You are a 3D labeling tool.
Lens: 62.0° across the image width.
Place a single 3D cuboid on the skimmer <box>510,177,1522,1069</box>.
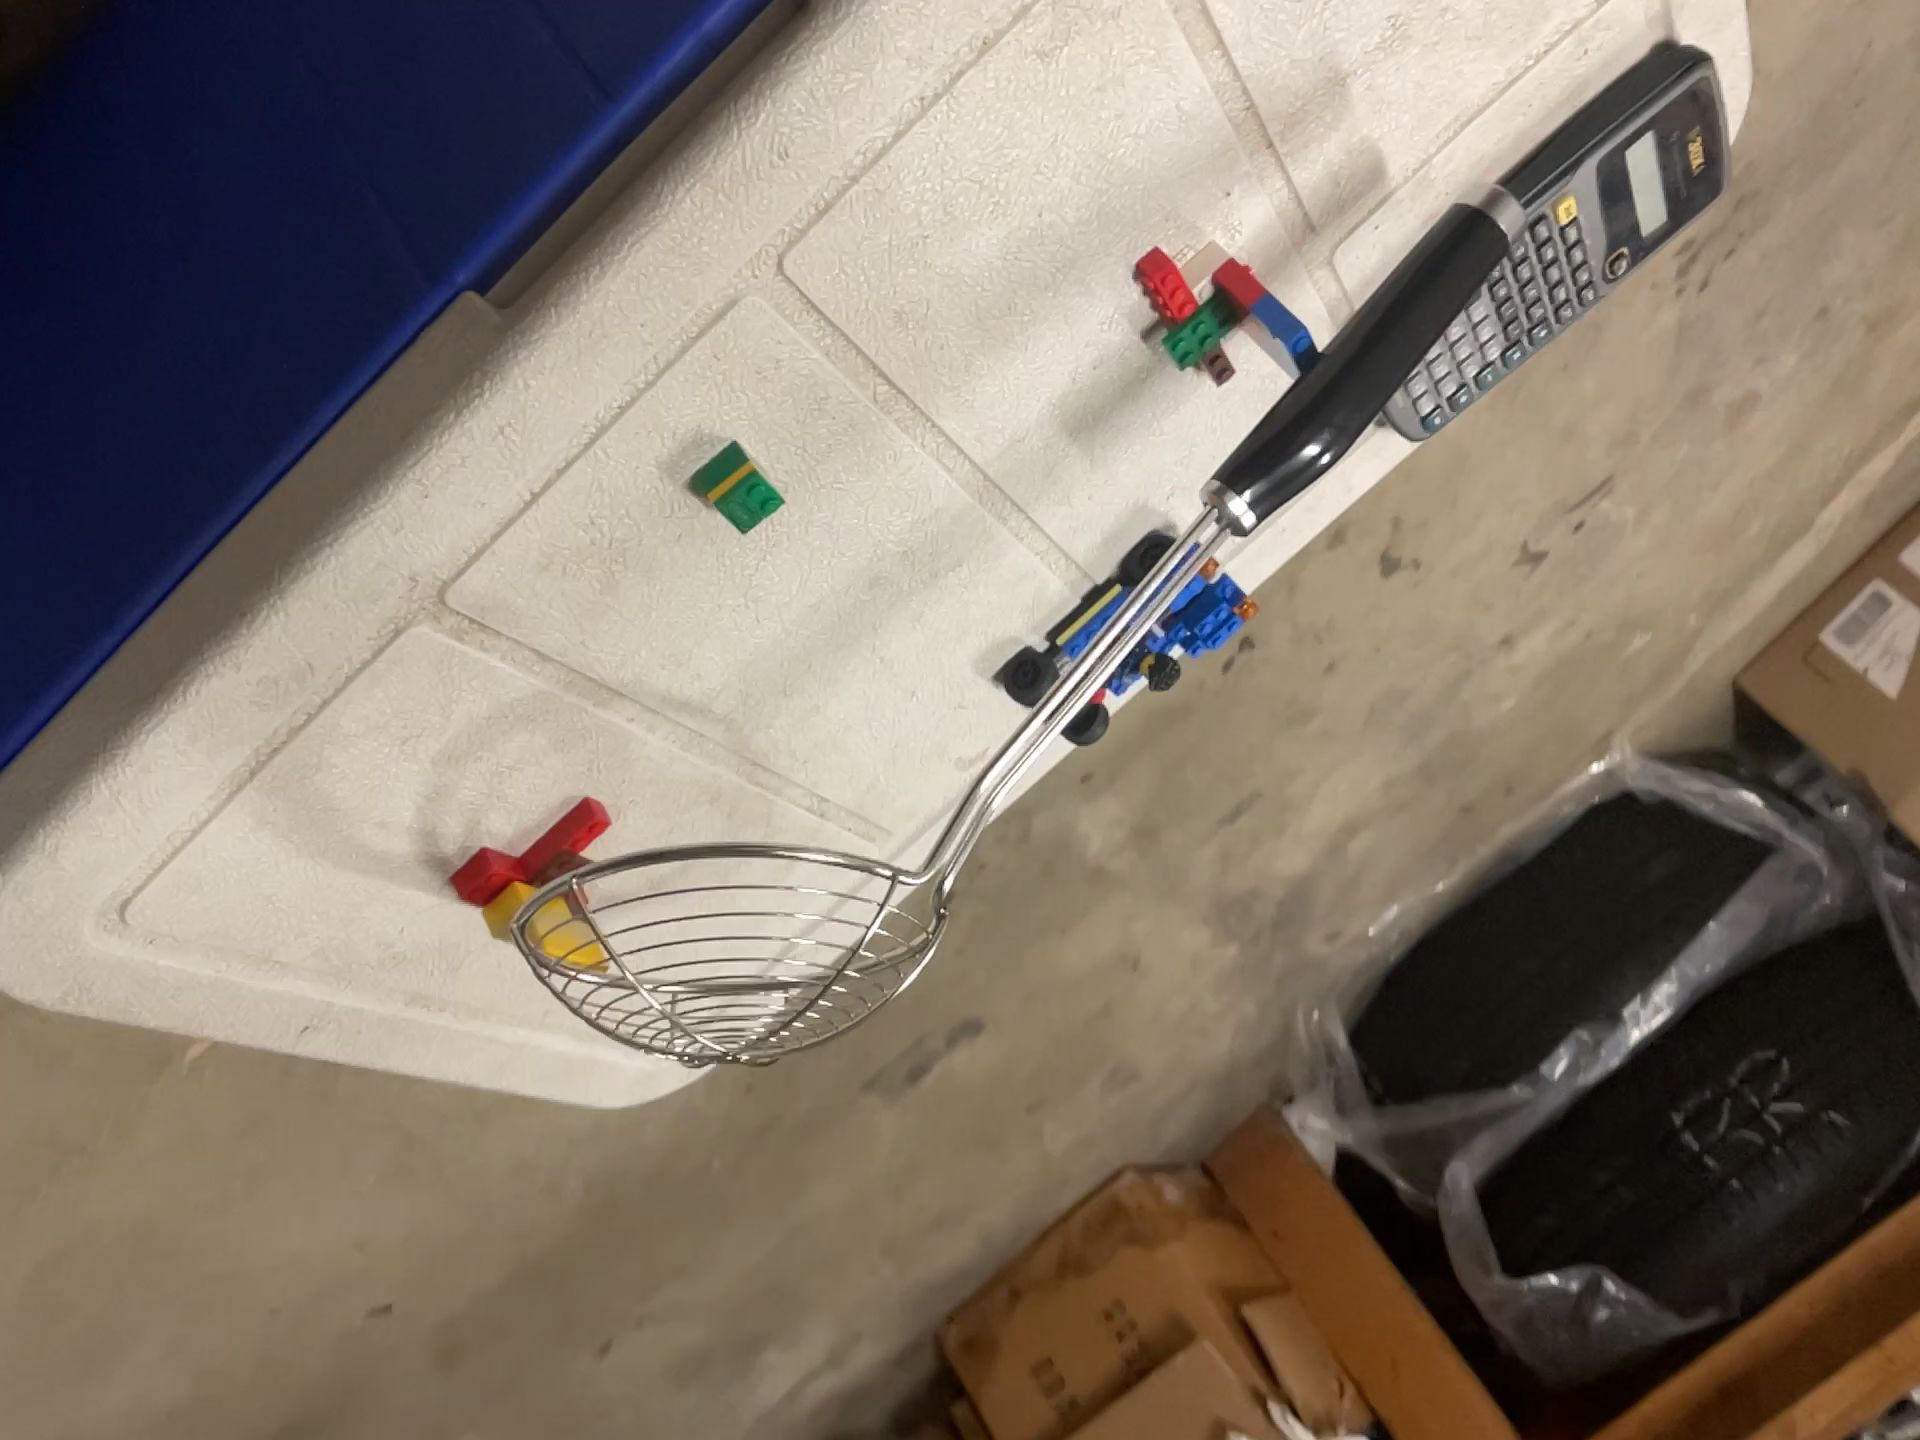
[{"bbox_3d":[0.019,-0.034,0.483,0.363,0.090,0.127,-49,147,-2],"label":"skimmer"}]
